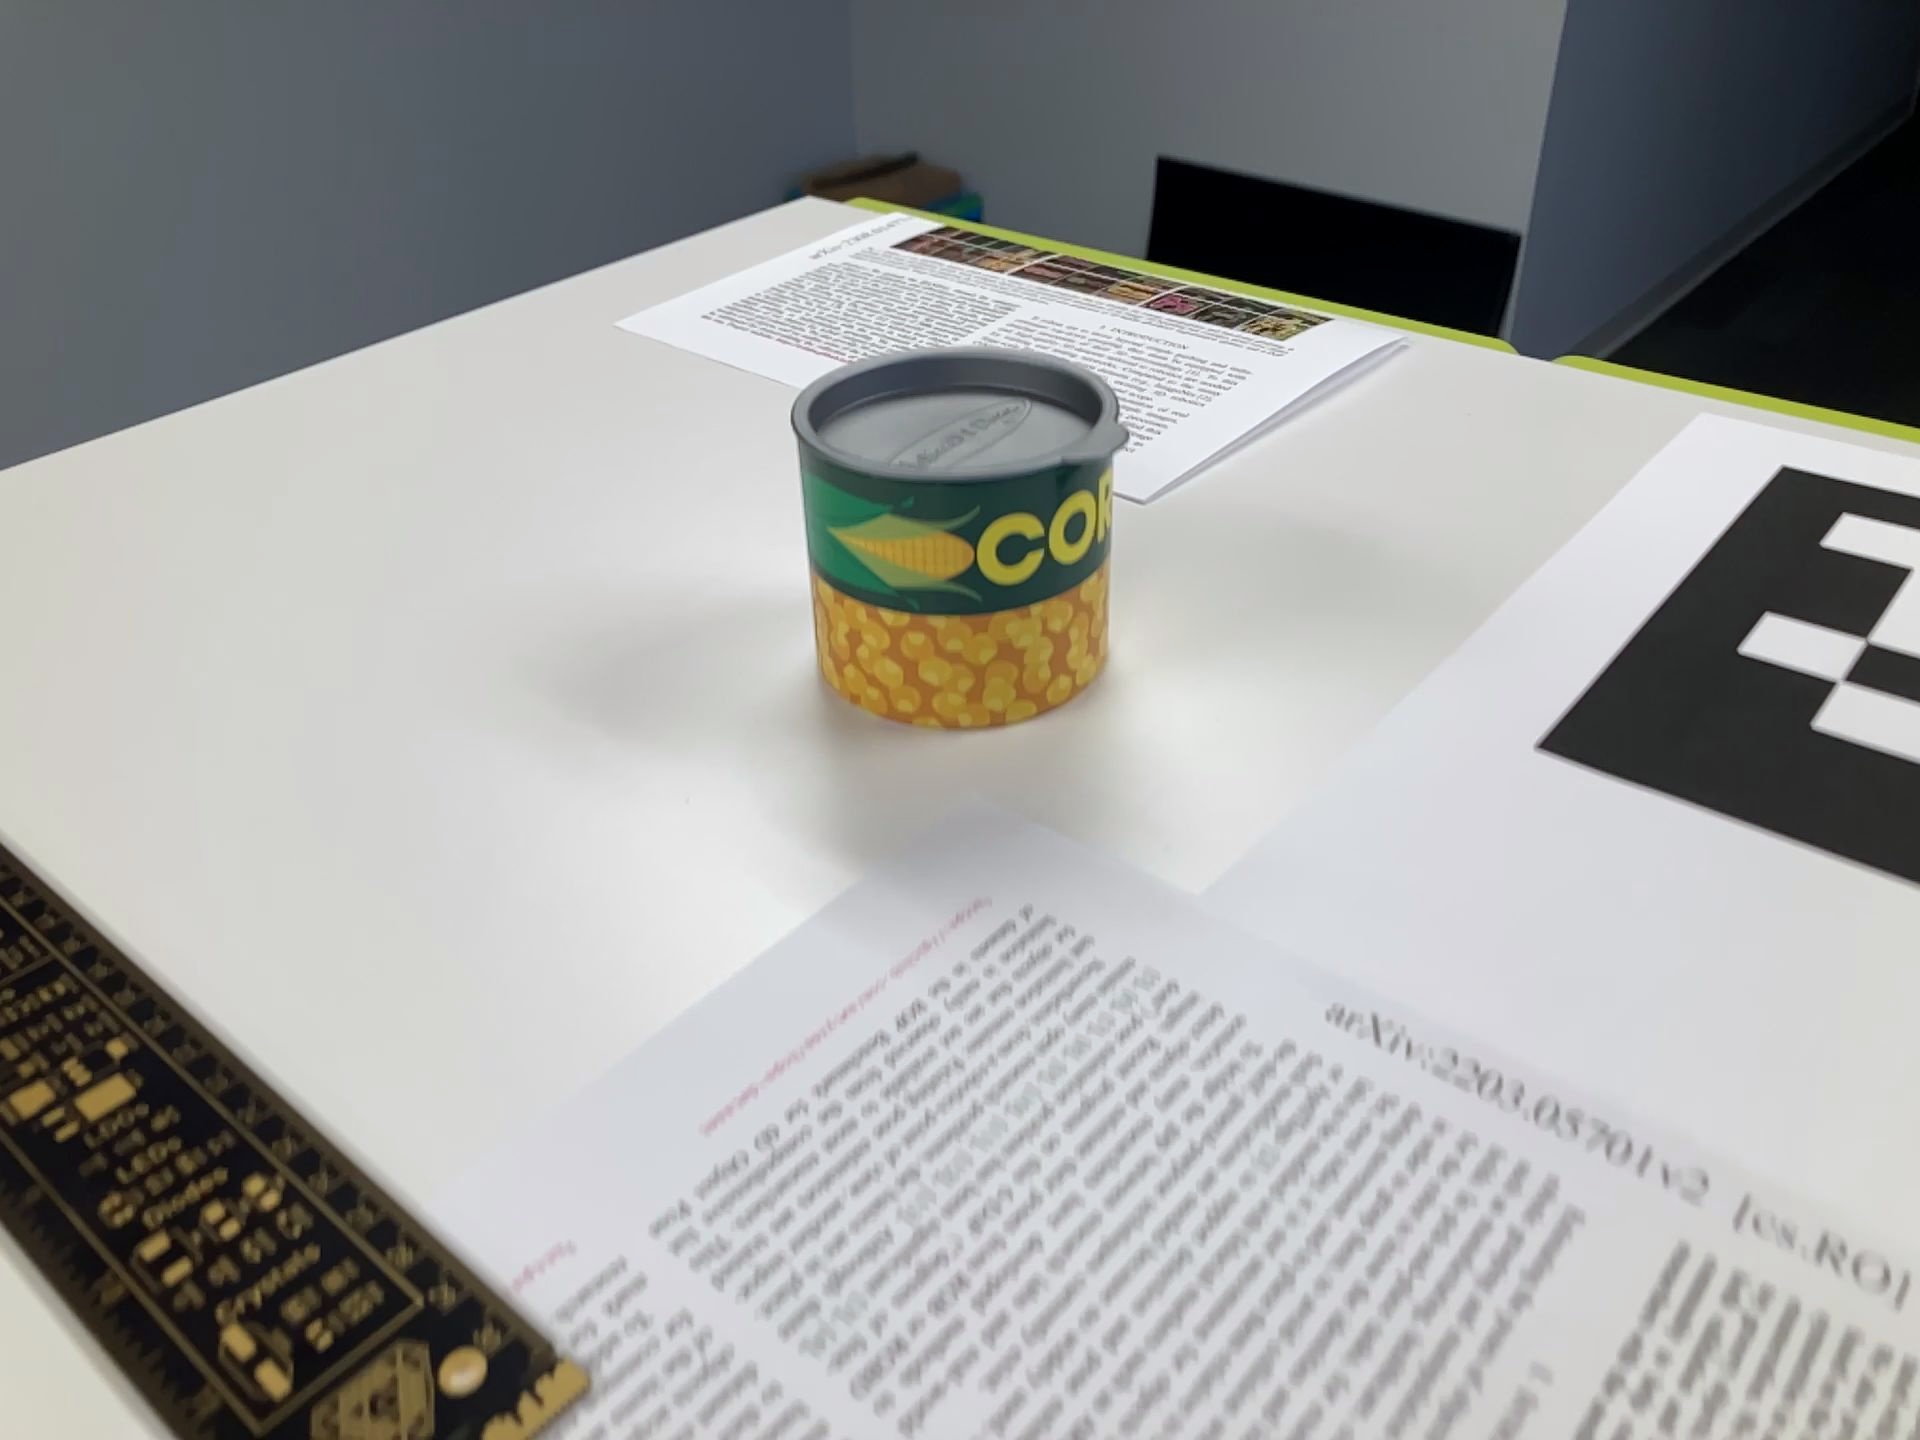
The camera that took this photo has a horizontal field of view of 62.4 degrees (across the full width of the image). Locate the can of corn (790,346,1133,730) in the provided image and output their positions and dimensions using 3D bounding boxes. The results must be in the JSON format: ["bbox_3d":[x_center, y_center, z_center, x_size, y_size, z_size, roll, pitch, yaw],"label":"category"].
[{"bbox_3d":[0.002,-0.039,0.332,0.071,0.058,0.071,-1,34,1],"label":"can of corn"}]
